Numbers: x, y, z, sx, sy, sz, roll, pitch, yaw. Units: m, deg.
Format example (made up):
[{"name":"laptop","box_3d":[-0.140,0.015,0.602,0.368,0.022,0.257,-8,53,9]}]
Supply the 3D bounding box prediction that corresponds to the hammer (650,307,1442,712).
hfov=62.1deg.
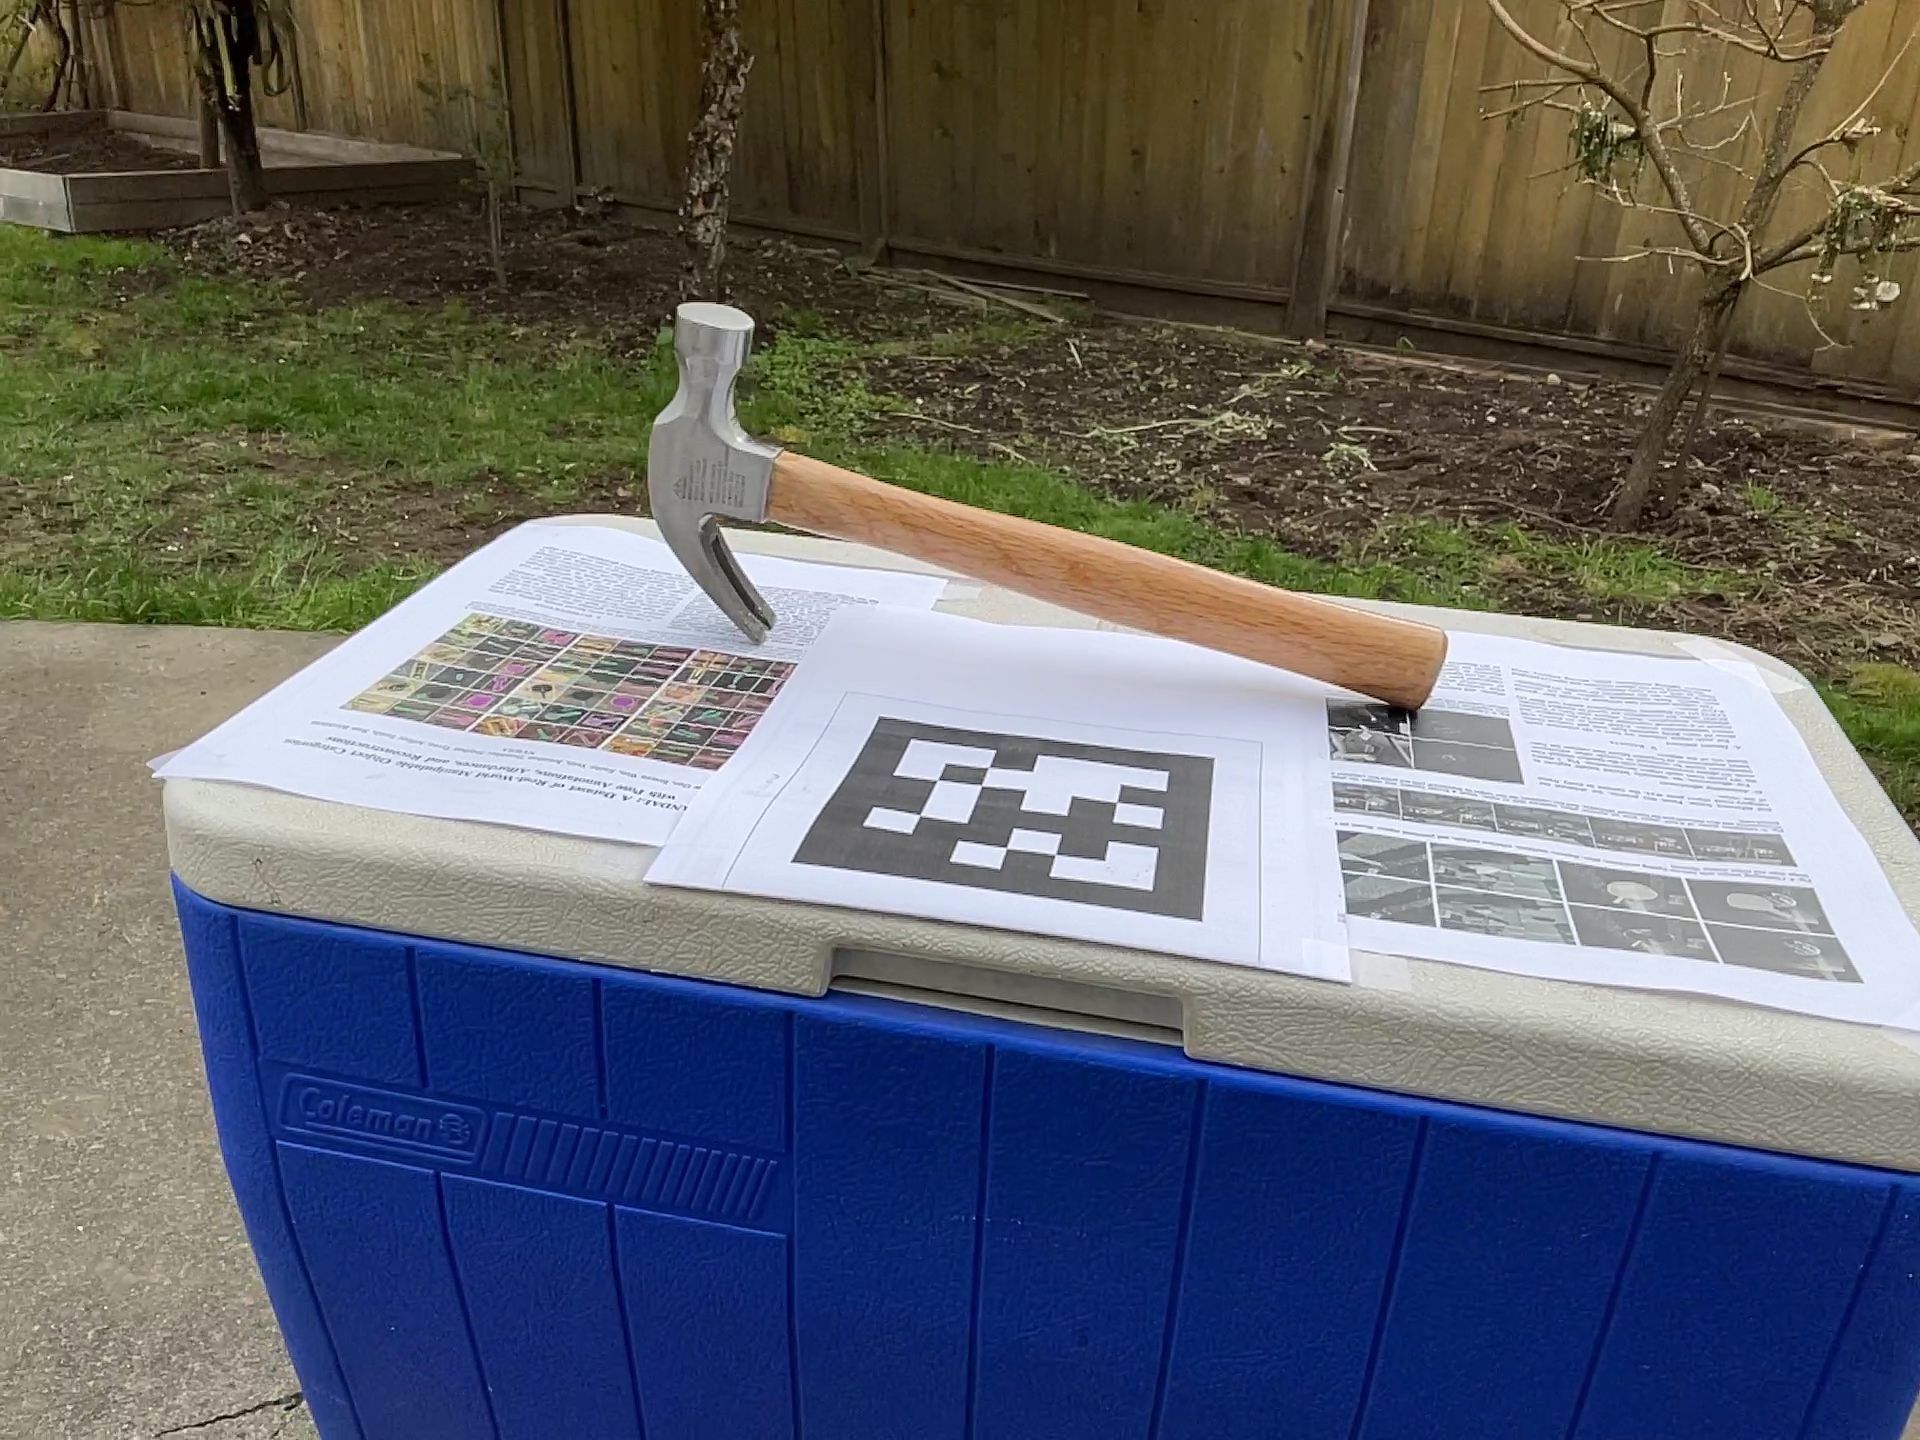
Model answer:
[{"name":"hammer","box_3d":[0.031,-0.063,0.660,0.331,0.130,0.031,17,28,4]}]
